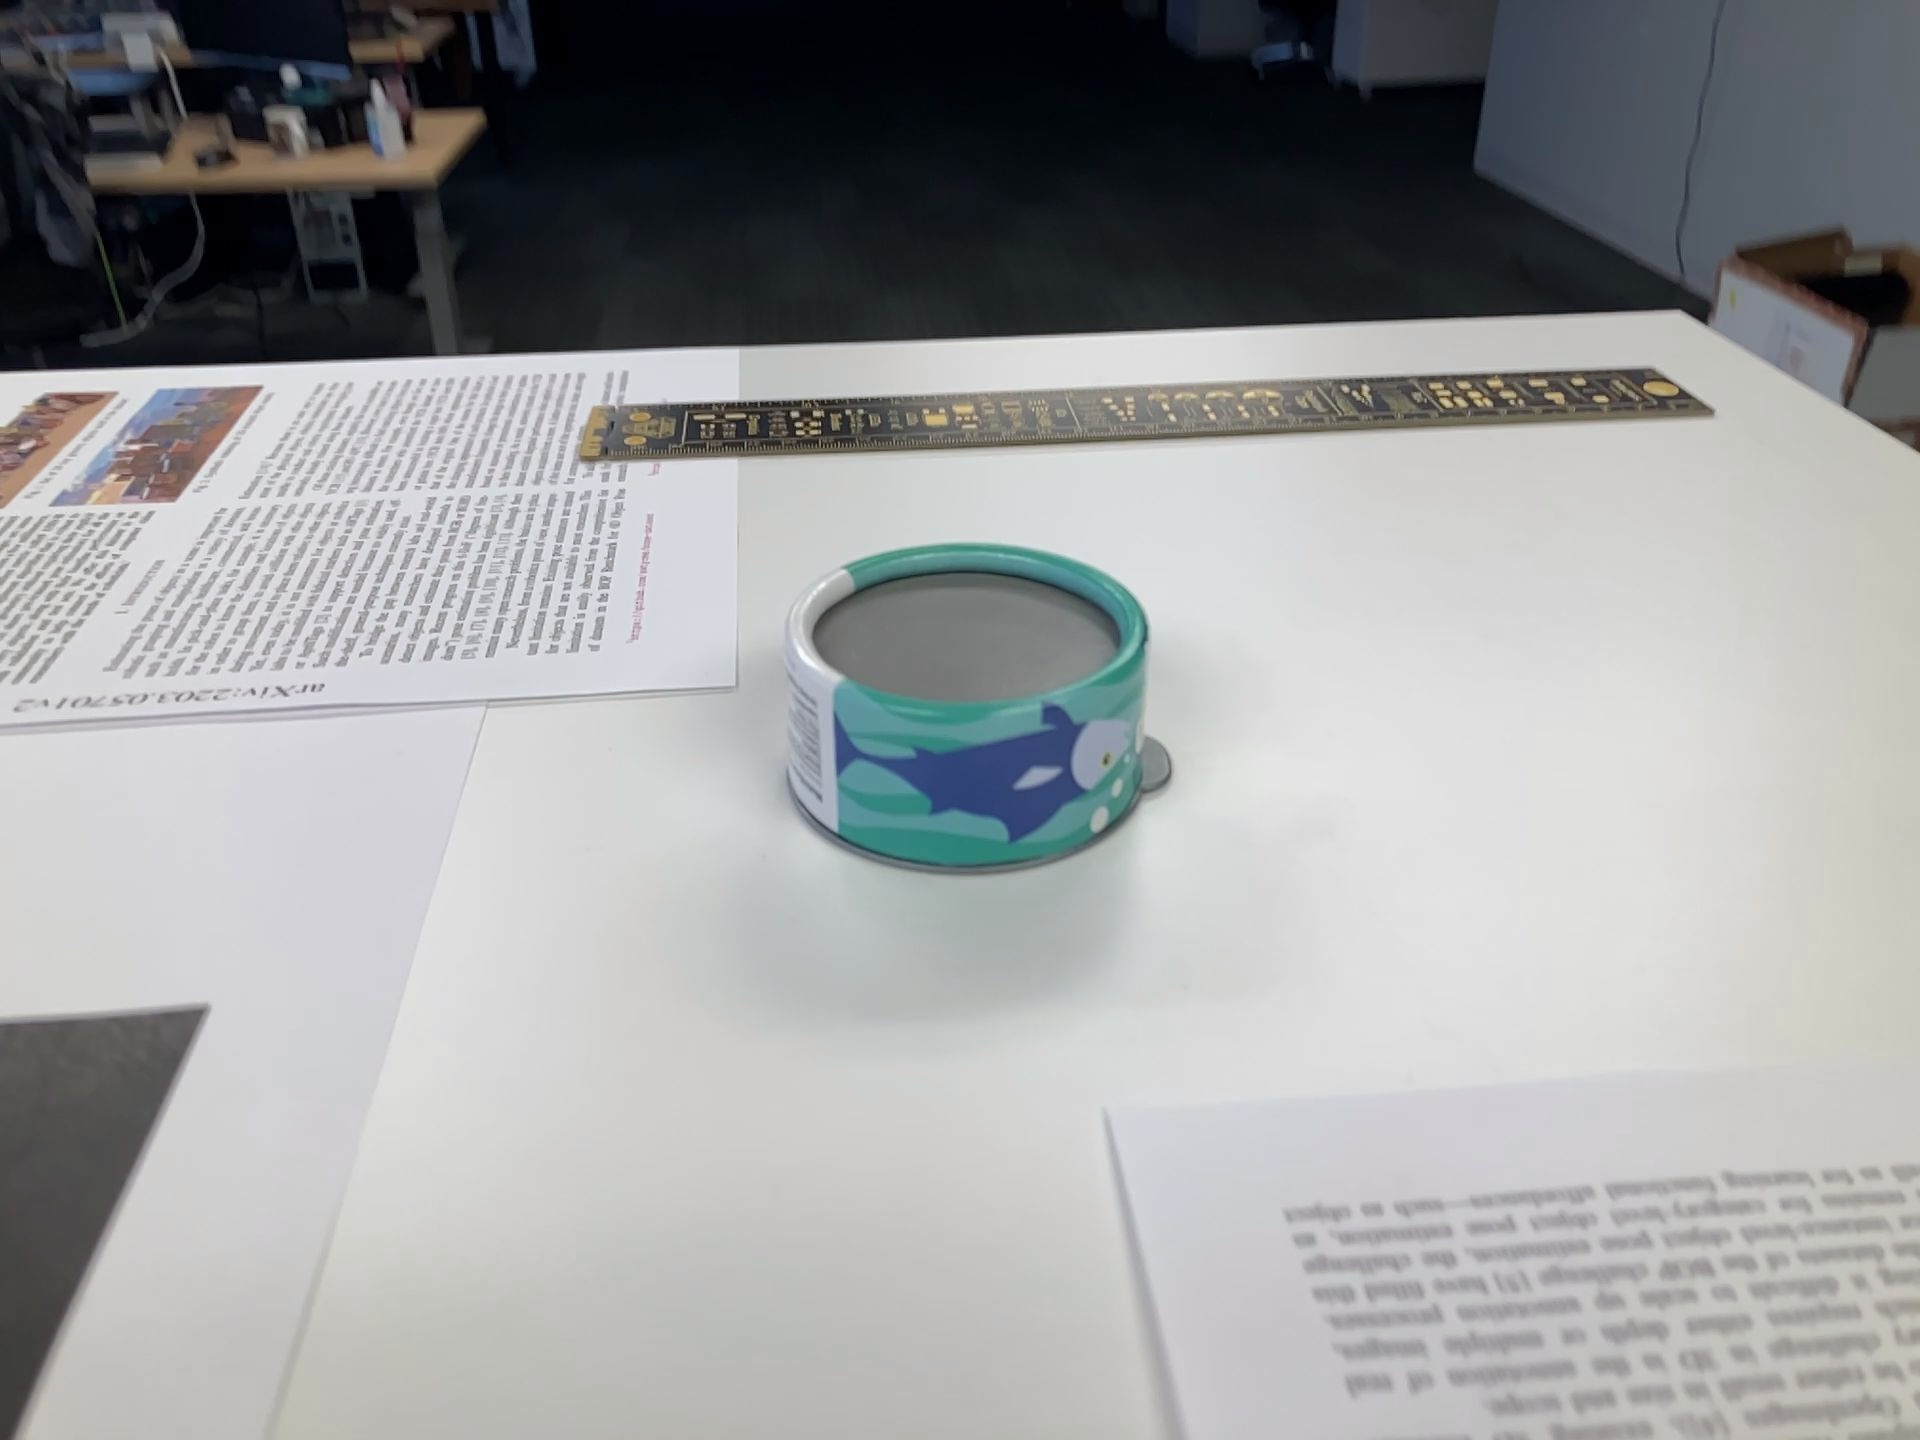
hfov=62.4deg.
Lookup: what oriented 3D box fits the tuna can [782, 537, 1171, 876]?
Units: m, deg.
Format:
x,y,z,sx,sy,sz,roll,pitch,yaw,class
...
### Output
x,y,z,sx,sy,sz,roll,pitch,yaw,class
0.004,-0.005,0.285,0.071,0.033,0.071,1,32,0,tuna can
